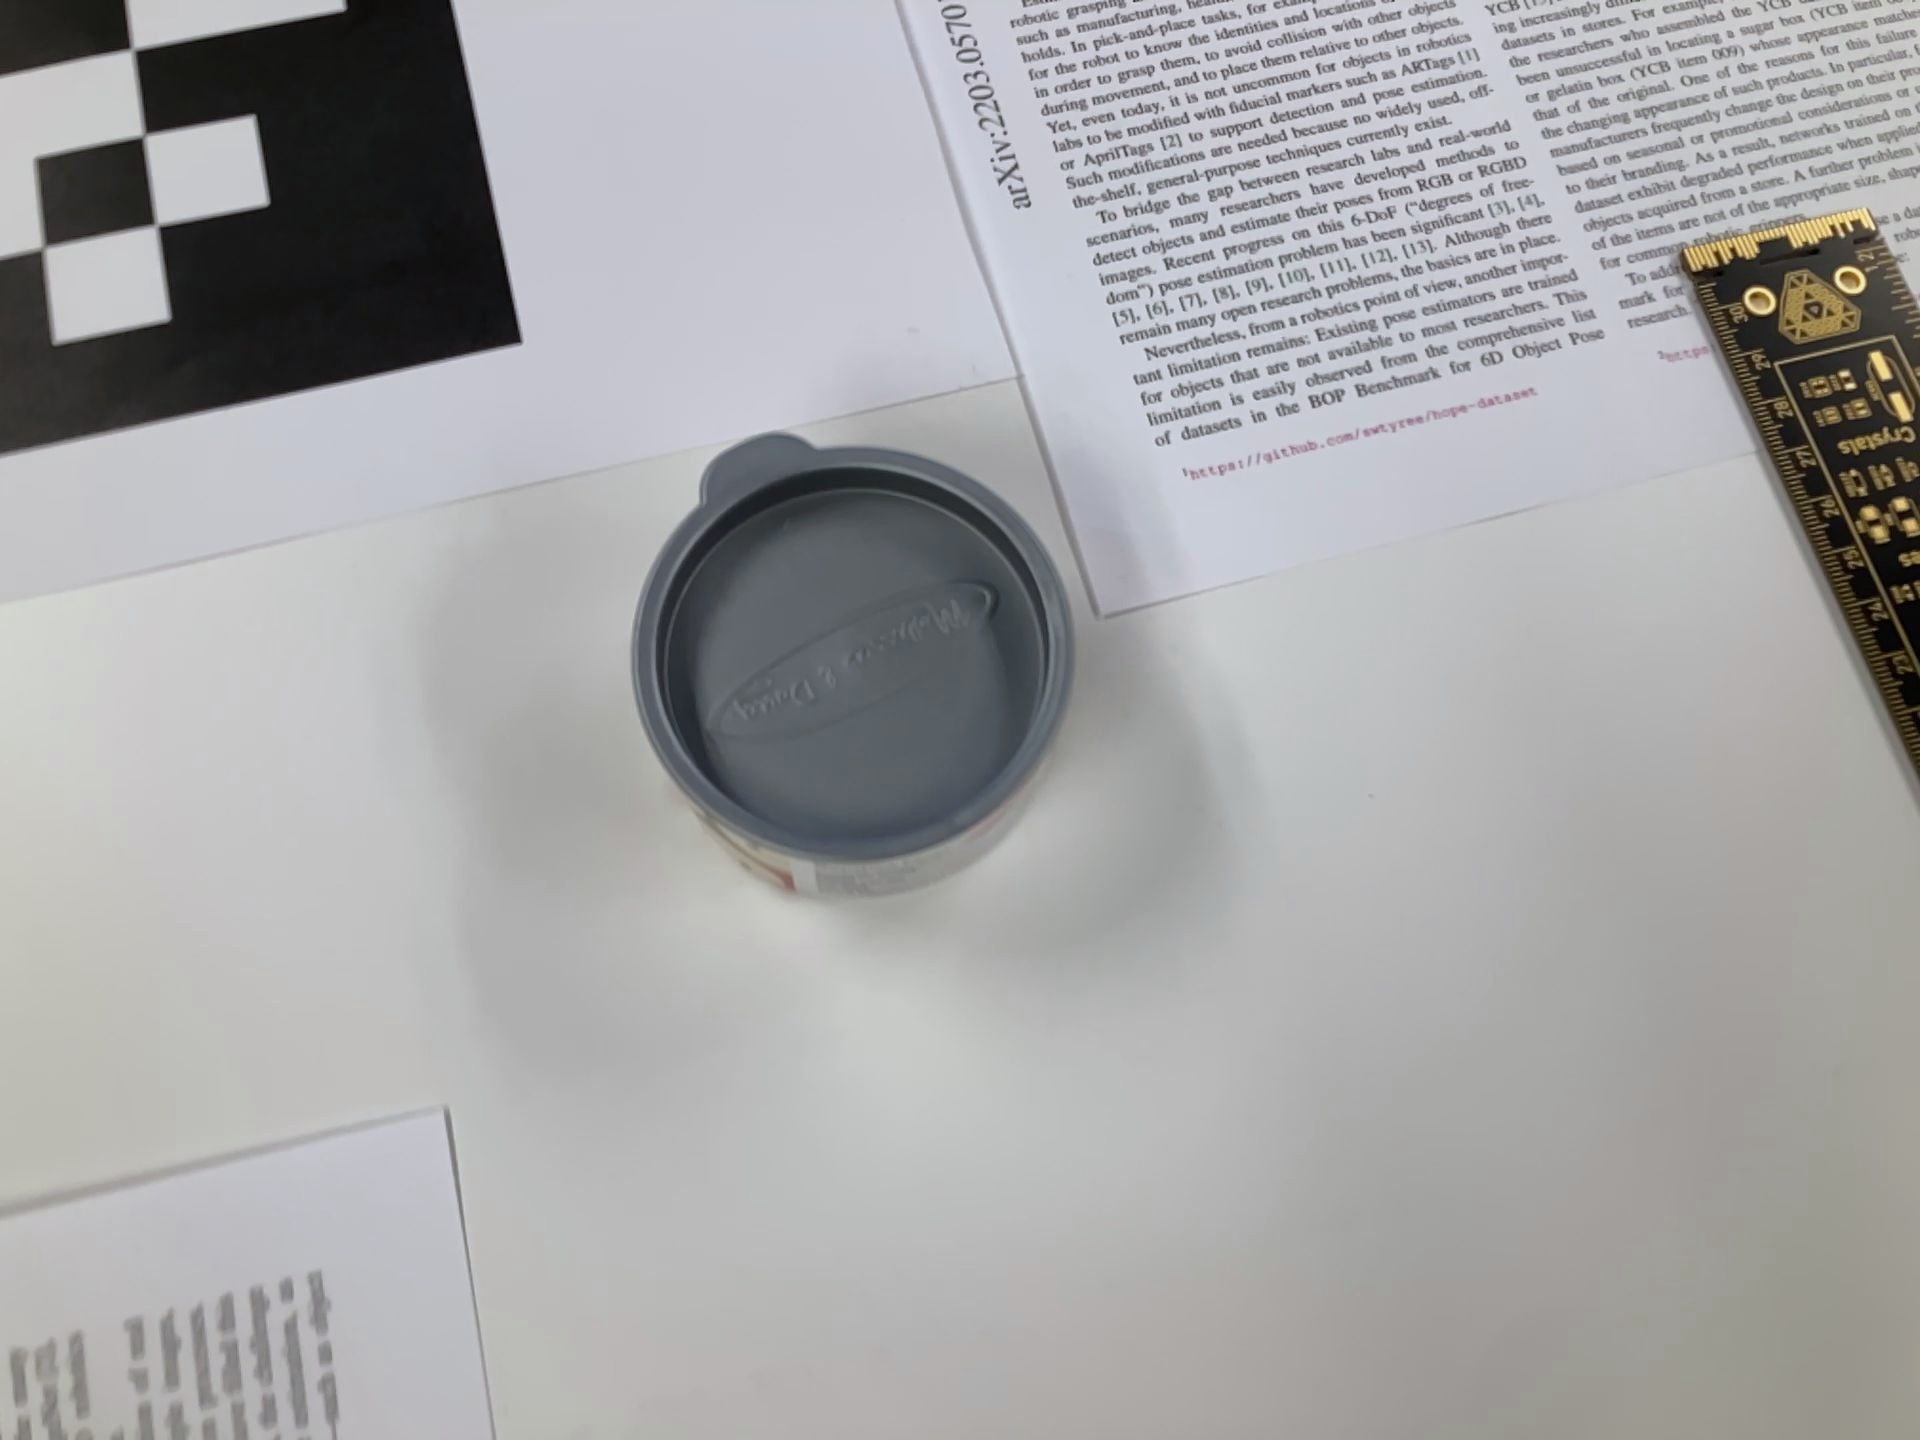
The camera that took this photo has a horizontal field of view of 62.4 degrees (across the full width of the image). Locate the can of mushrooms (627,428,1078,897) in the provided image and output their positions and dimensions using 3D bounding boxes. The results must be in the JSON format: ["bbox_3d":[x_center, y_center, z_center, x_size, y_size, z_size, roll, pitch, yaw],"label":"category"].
[{"bbox_3d":[-0.017,-0.009,0.249,0.071,0.033,0.071,0,73,-1],"label":"can of mushrooms"}]
